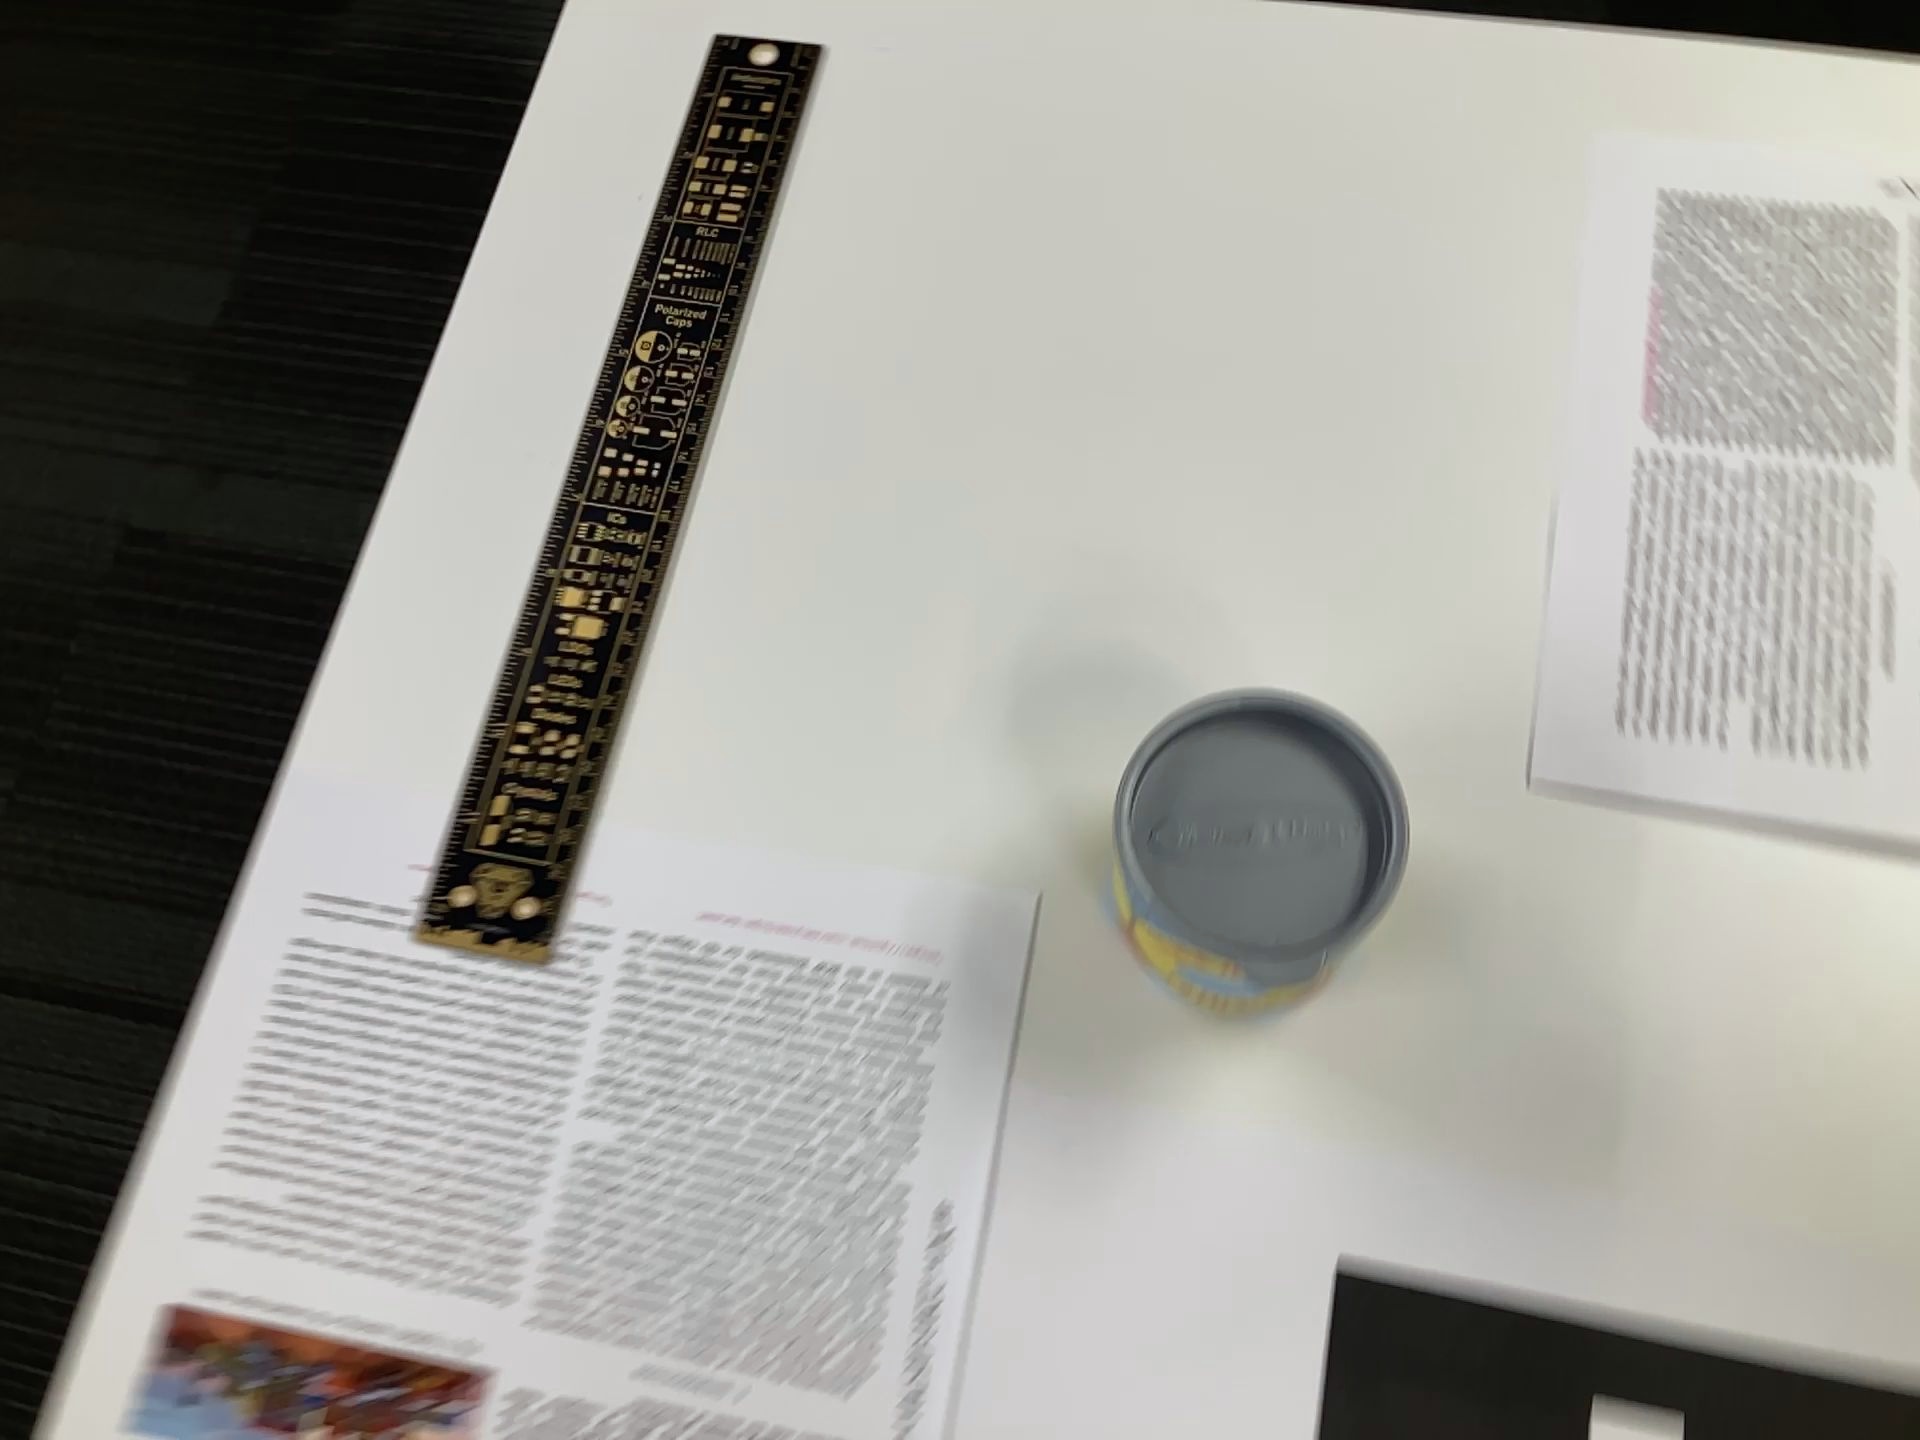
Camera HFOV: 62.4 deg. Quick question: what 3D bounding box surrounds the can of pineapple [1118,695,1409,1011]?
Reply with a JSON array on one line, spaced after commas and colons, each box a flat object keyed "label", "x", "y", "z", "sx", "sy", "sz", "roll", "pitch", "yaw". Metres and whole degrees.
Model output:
[{"label": "can of pineapple", "x": 0.072, "y": 0.036, "z": 0.391, "sx": 0.071, "sy": 0.058, "sz": 0.071, "roll": -2, "pitch": 69, "yaw": 5}]
